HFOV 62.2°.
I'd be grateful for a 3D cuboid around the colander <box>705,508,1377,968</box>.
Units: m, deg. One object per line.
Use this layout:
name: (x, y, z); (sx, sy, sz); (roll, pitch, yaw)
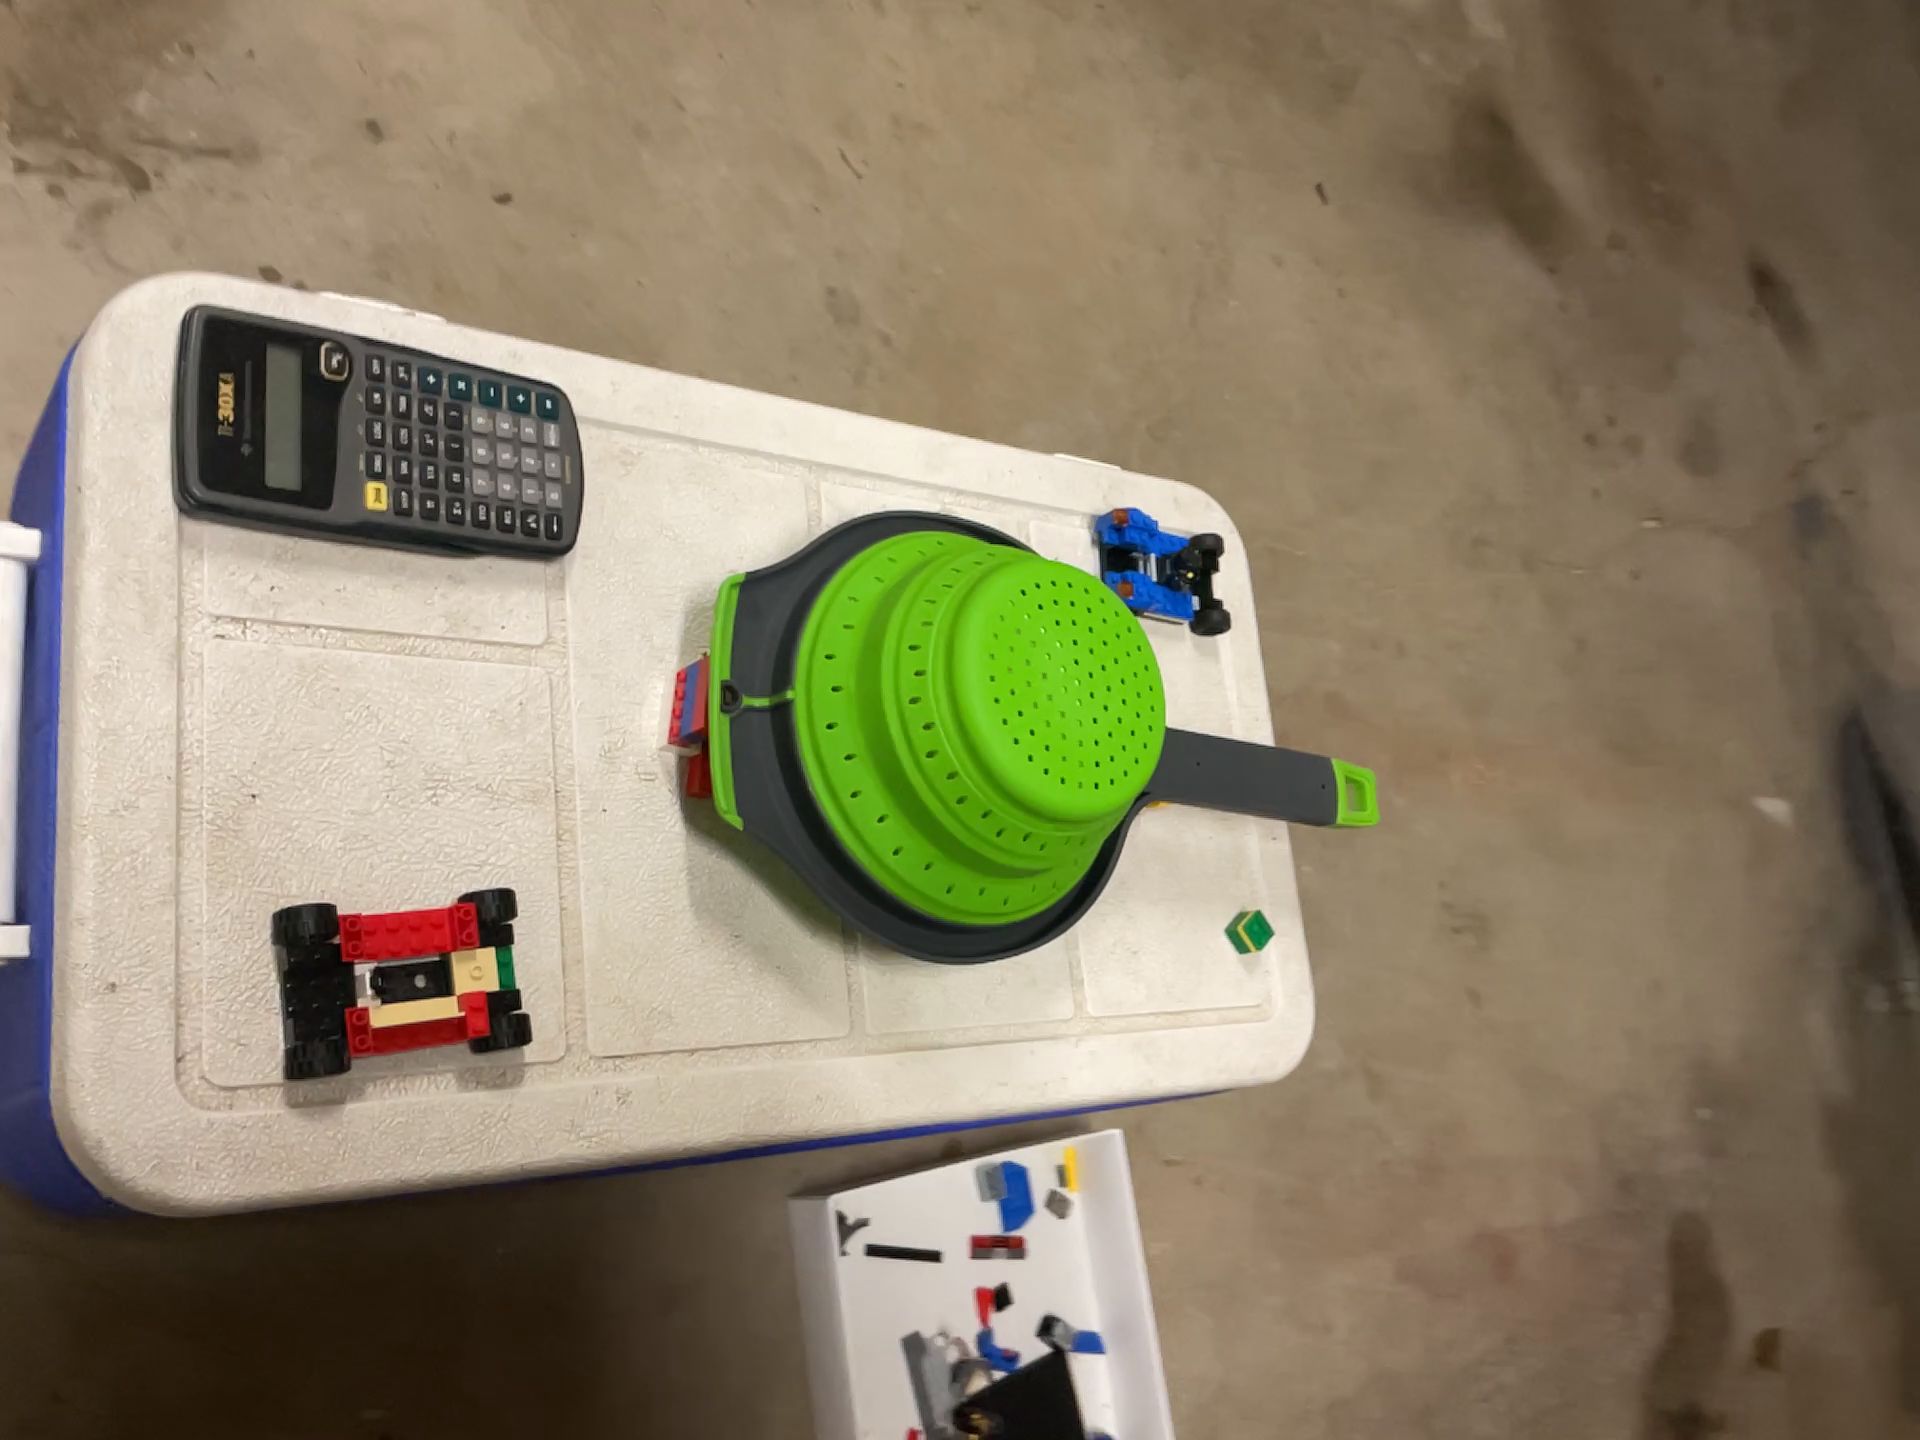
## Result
colander: (0.083, 0.007, 0.713); (0.397, 0.094, 0.205); (10, 71, -36)
